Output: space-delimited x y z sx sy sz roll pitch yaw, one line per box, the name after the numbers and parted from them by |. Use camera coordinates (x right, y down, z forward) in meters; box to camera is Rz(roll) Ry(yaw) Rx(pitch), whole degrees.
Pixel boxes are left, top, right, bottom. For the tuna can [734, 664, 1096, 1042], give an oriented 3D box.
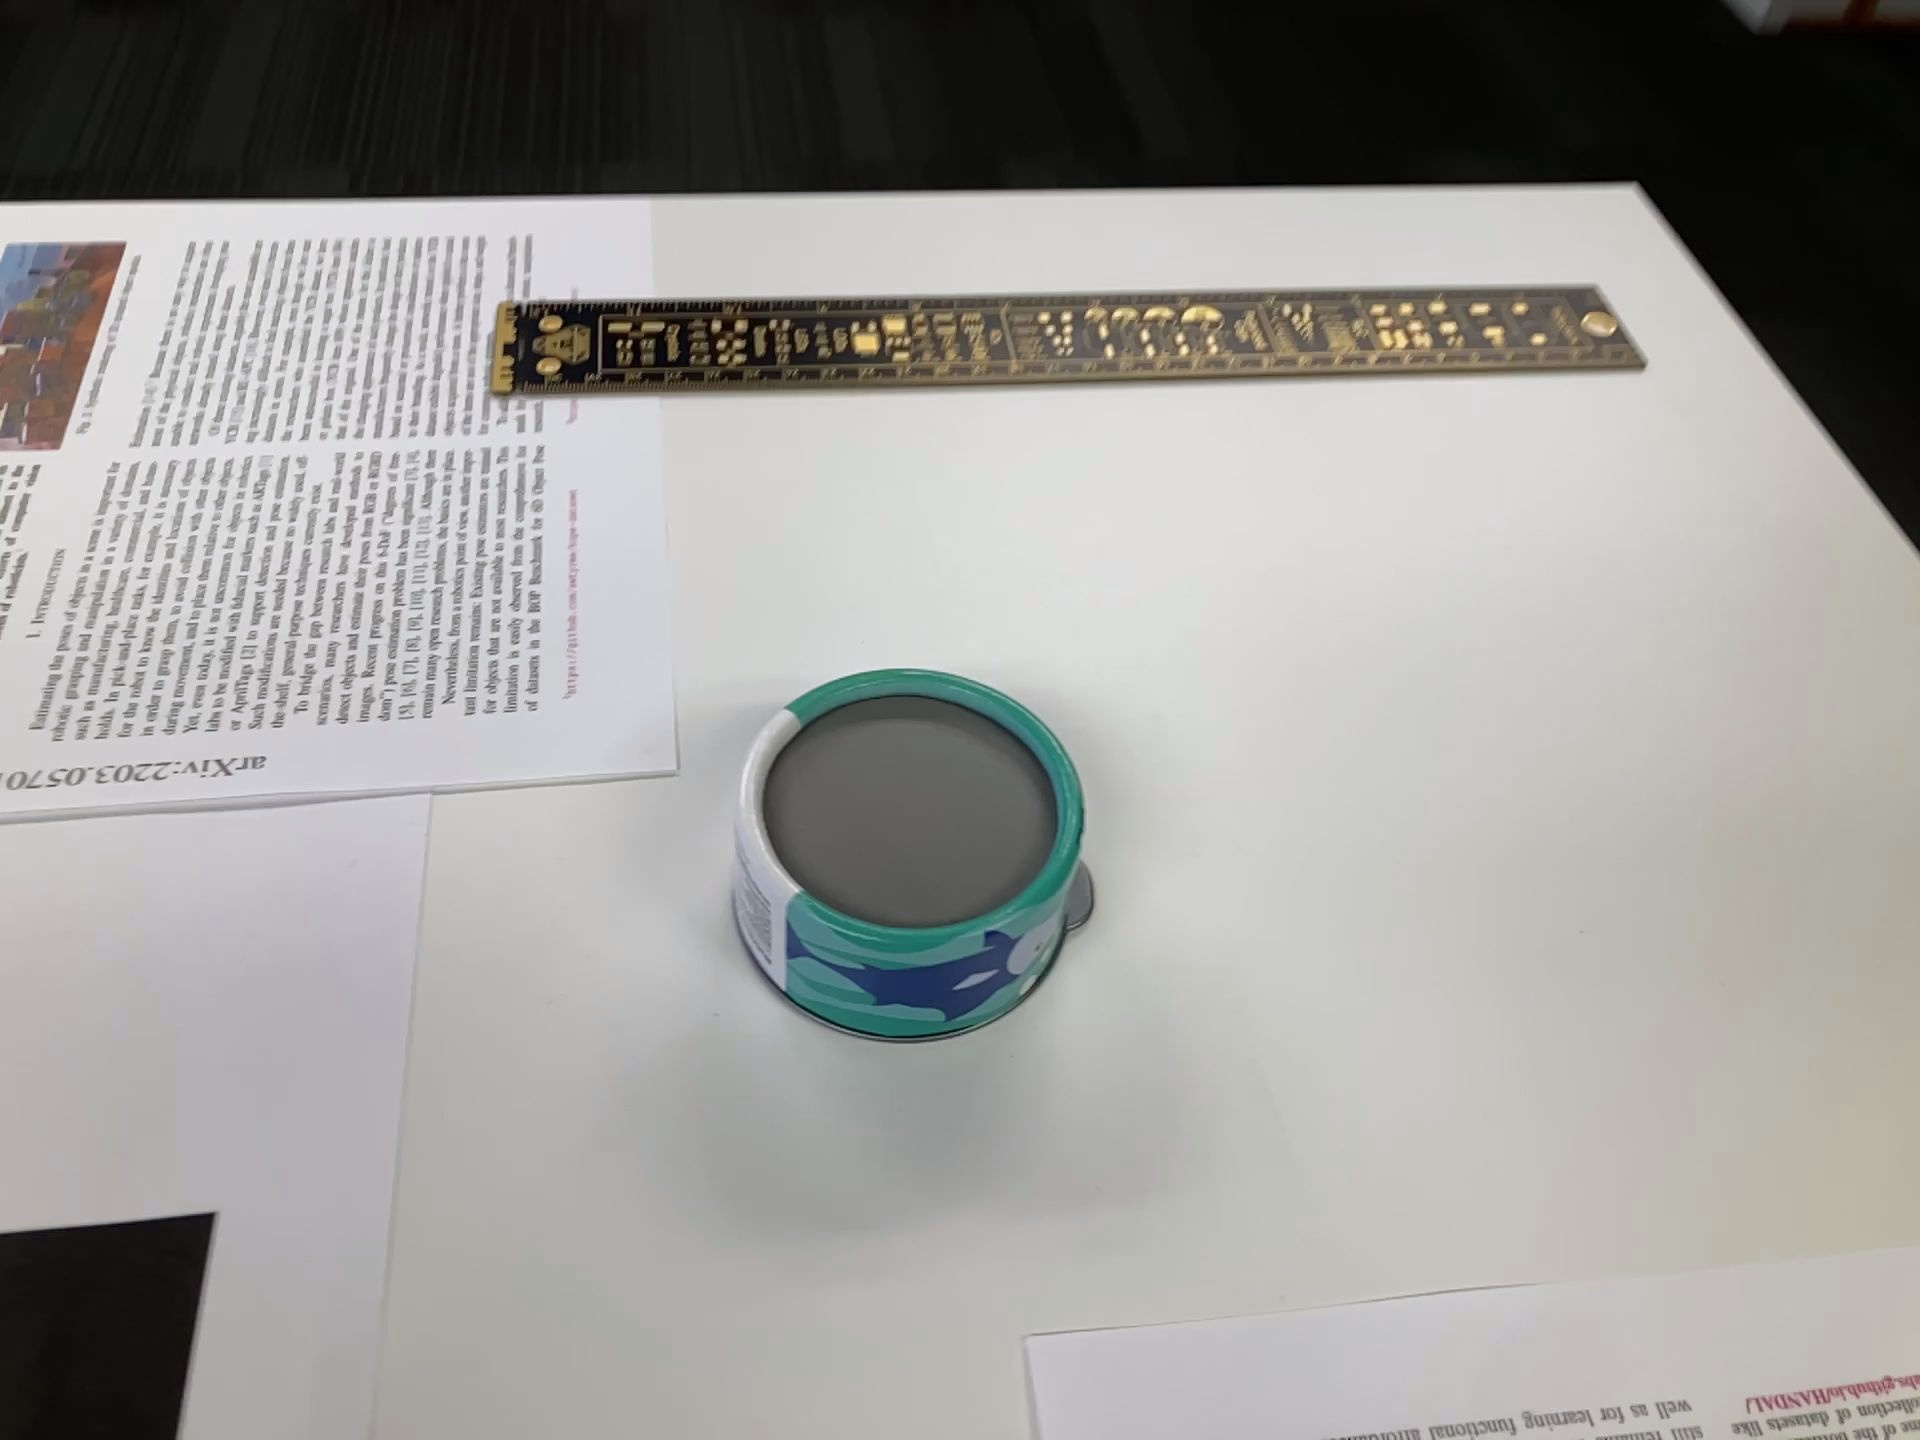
-0.007 0.024 0.300 0.071 0.033 0.071 3 50 -4 | tuna can
